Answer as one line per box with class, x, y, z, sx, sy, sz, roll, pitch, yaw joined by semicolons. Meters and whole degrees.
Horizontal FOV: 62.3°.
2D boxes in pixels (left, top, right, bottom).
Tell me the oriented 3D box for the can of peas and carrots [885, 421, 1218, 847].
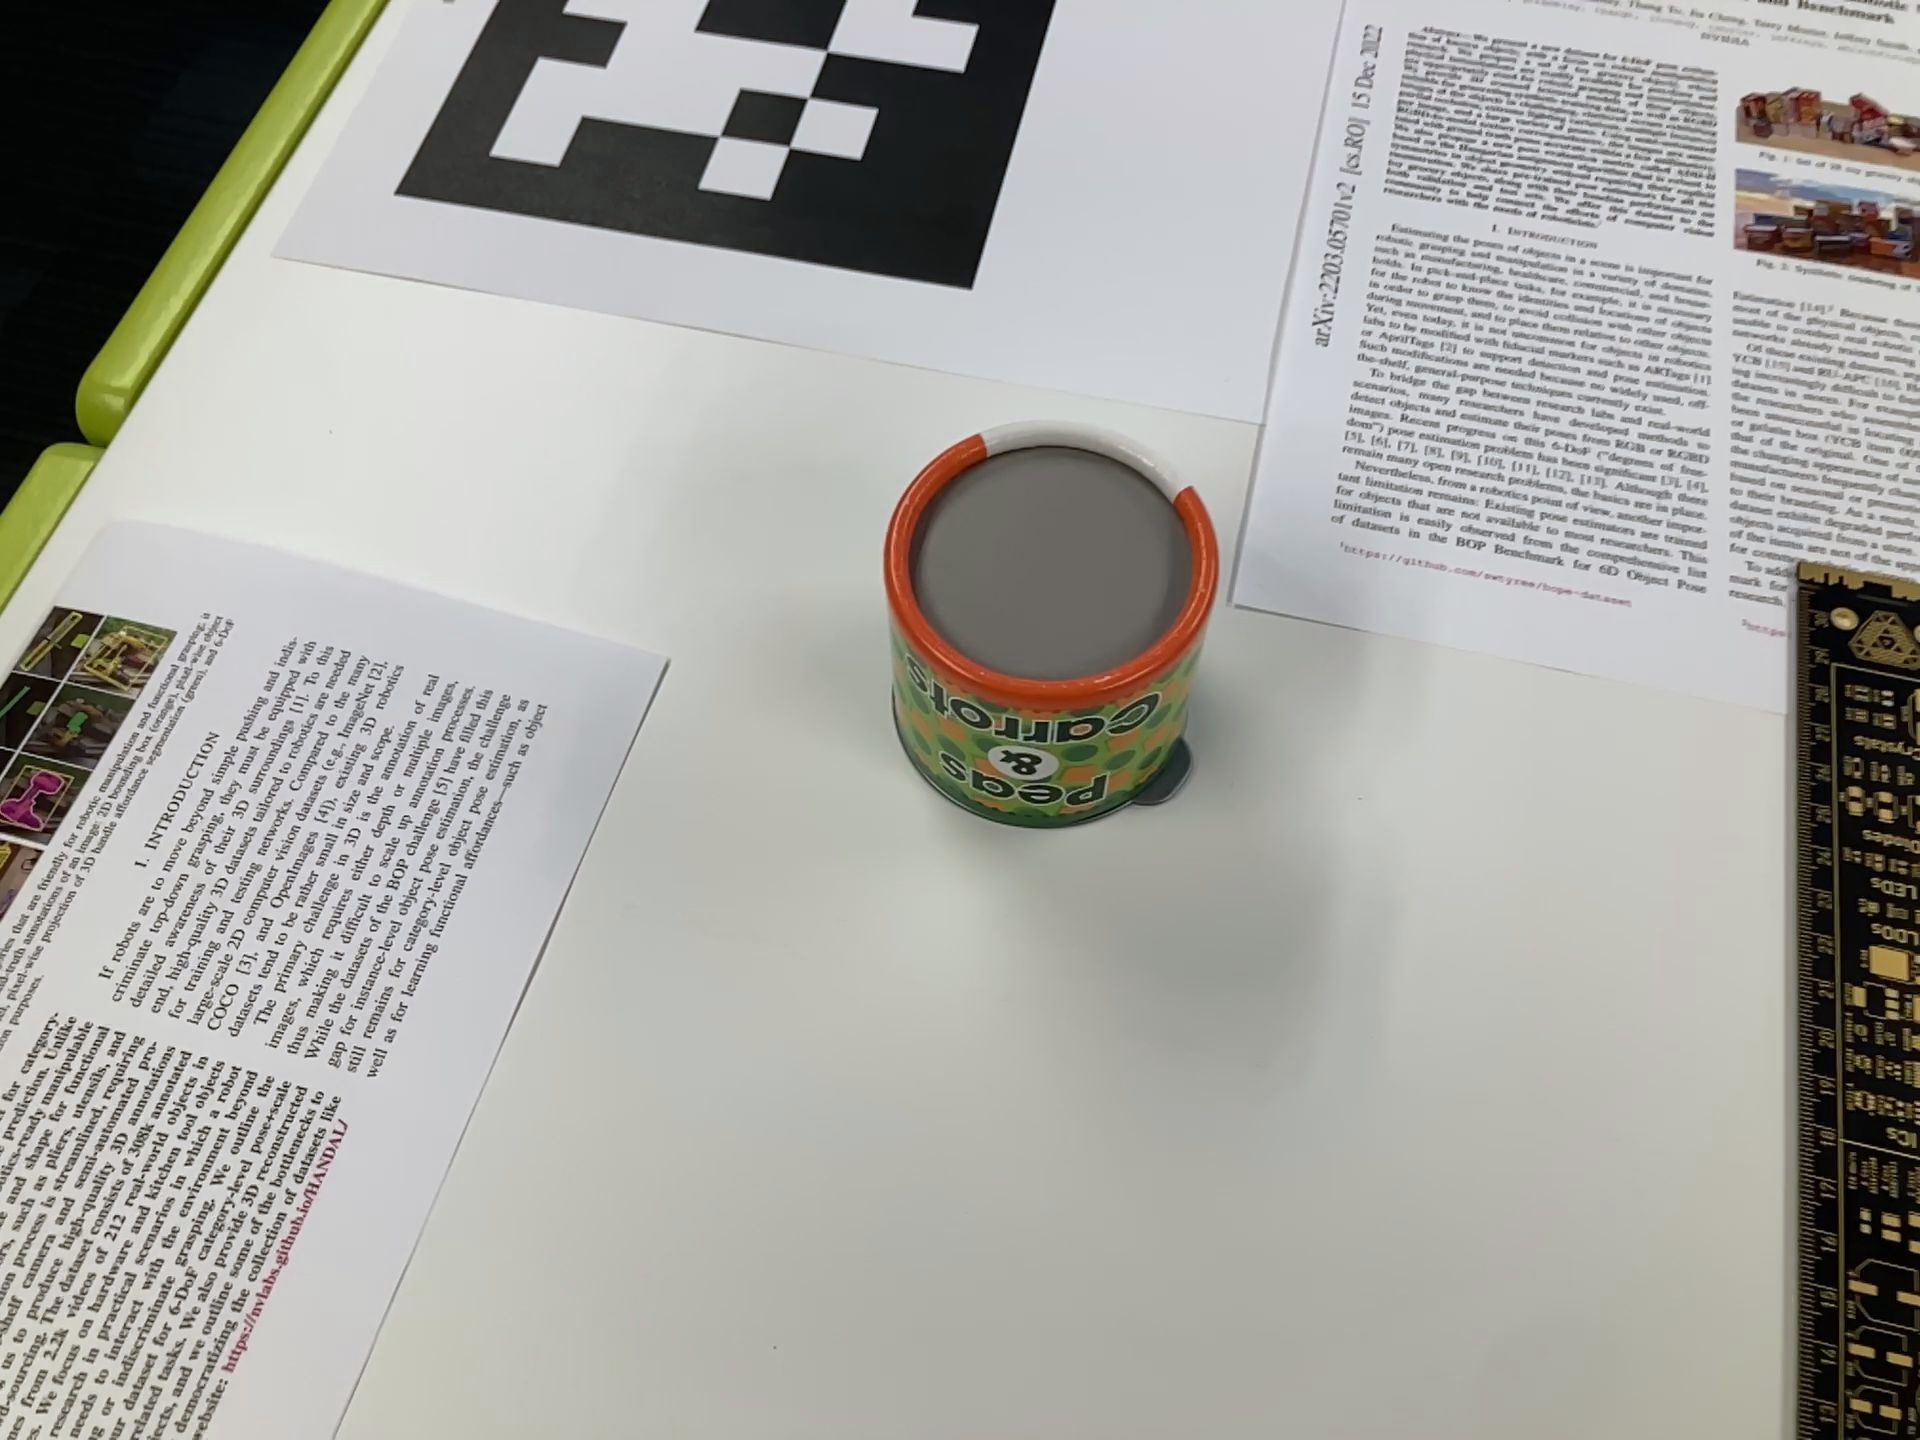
can of peas and carrots;0.018;-0.018;0.333;0.071;0.059;0.071;-1;61;1
